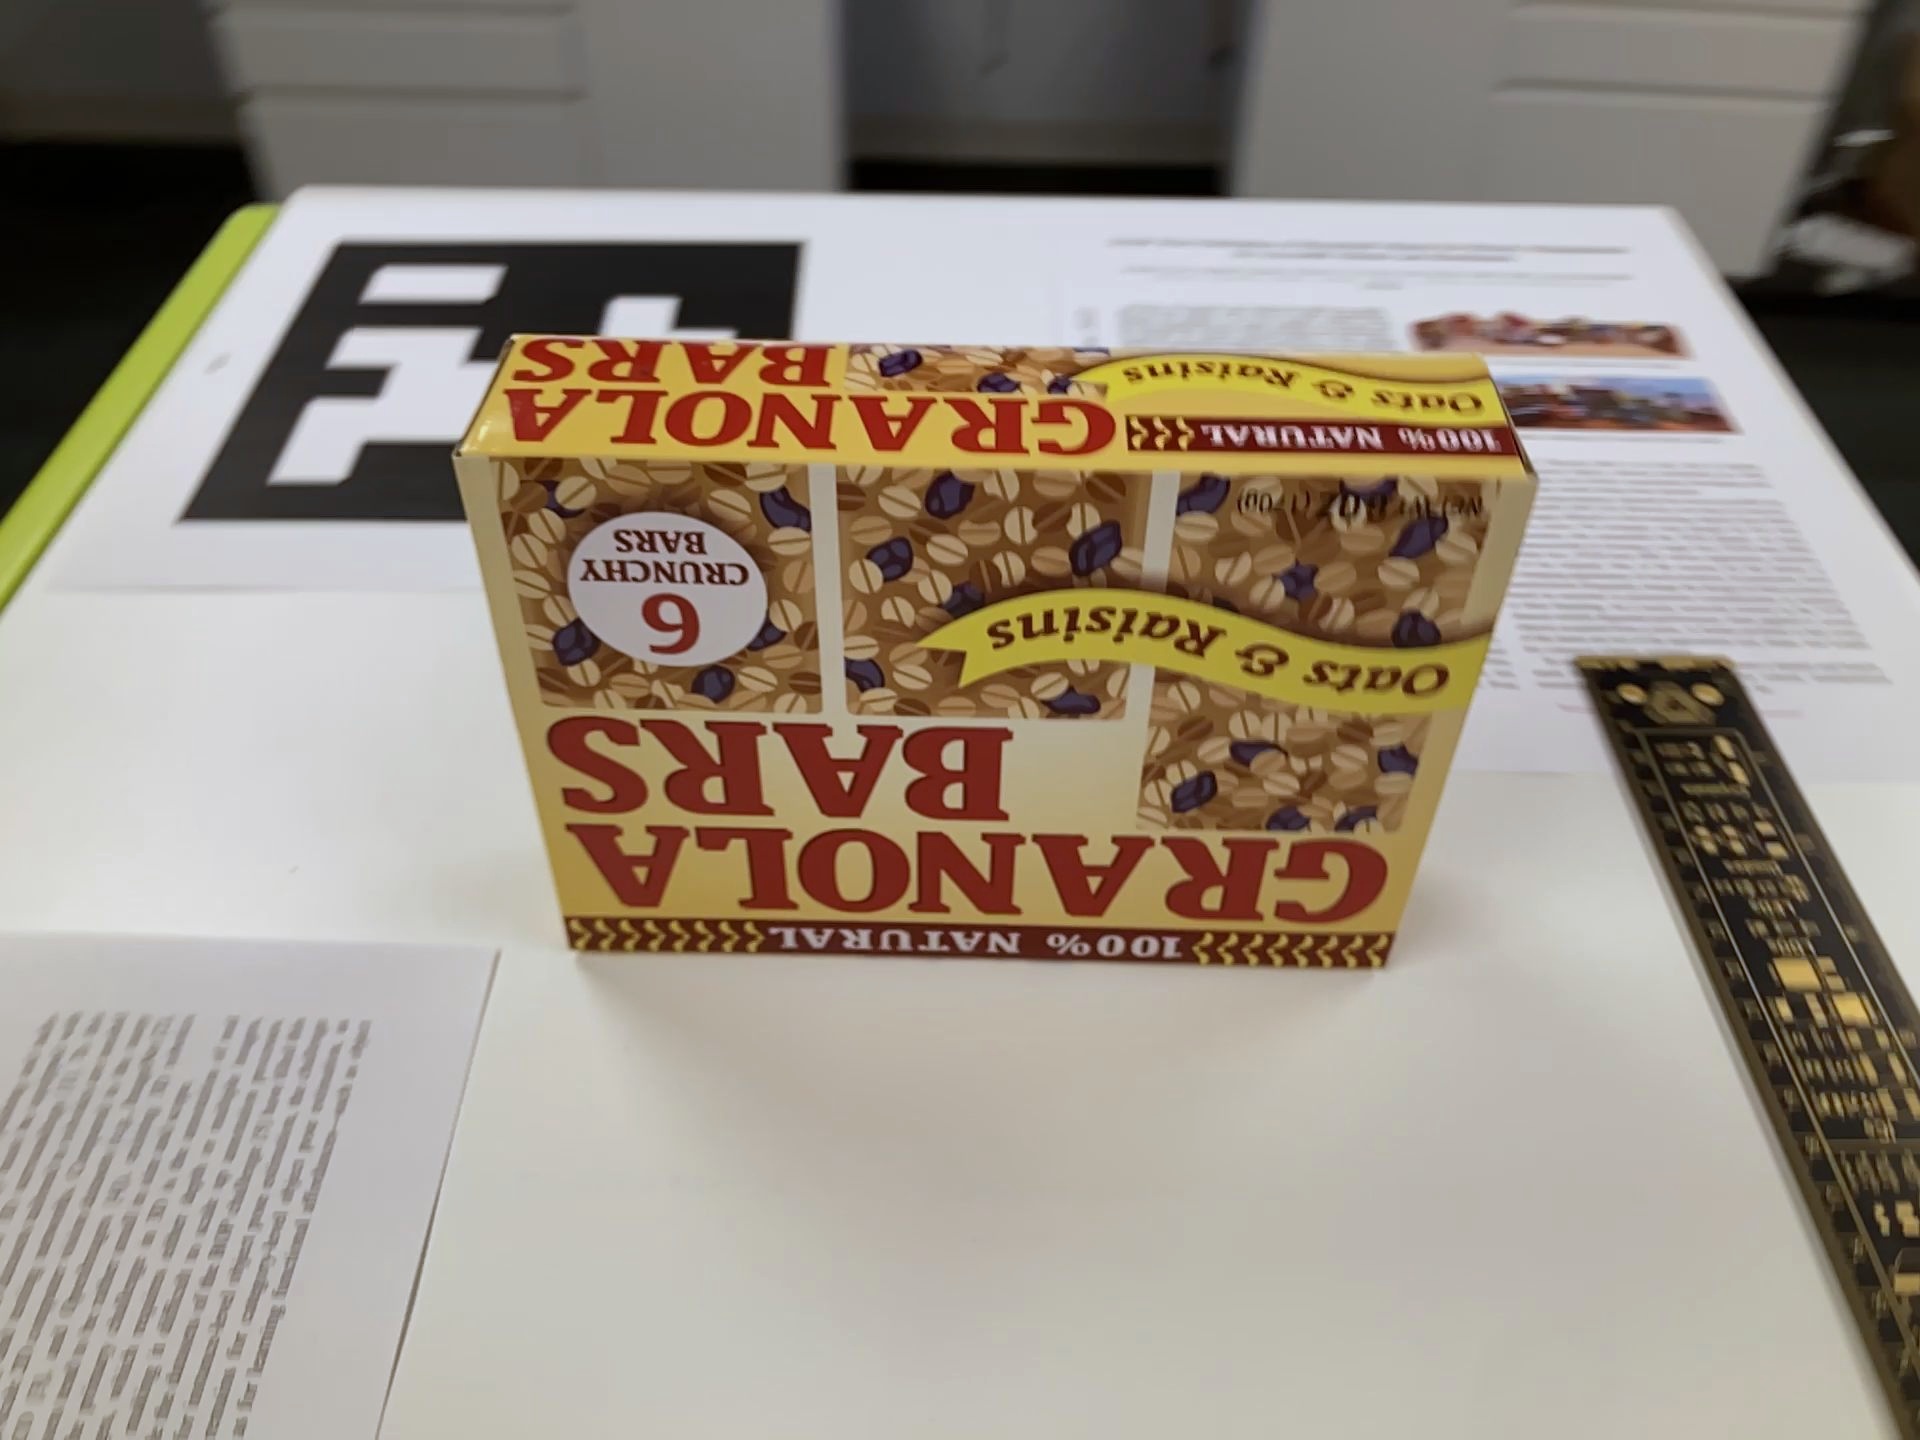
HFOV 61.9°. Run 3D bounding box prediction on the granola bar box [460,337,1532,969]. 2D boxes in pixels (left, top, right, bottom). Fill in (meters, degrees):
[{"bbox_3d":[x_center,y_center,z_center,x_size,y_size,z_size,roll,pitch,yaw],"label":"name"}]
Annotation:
[{"bbox_3d":[0.004,-0.007,0.300,0.165,0.124,0.039,1,43,0],"label":"granola bar box"}]
